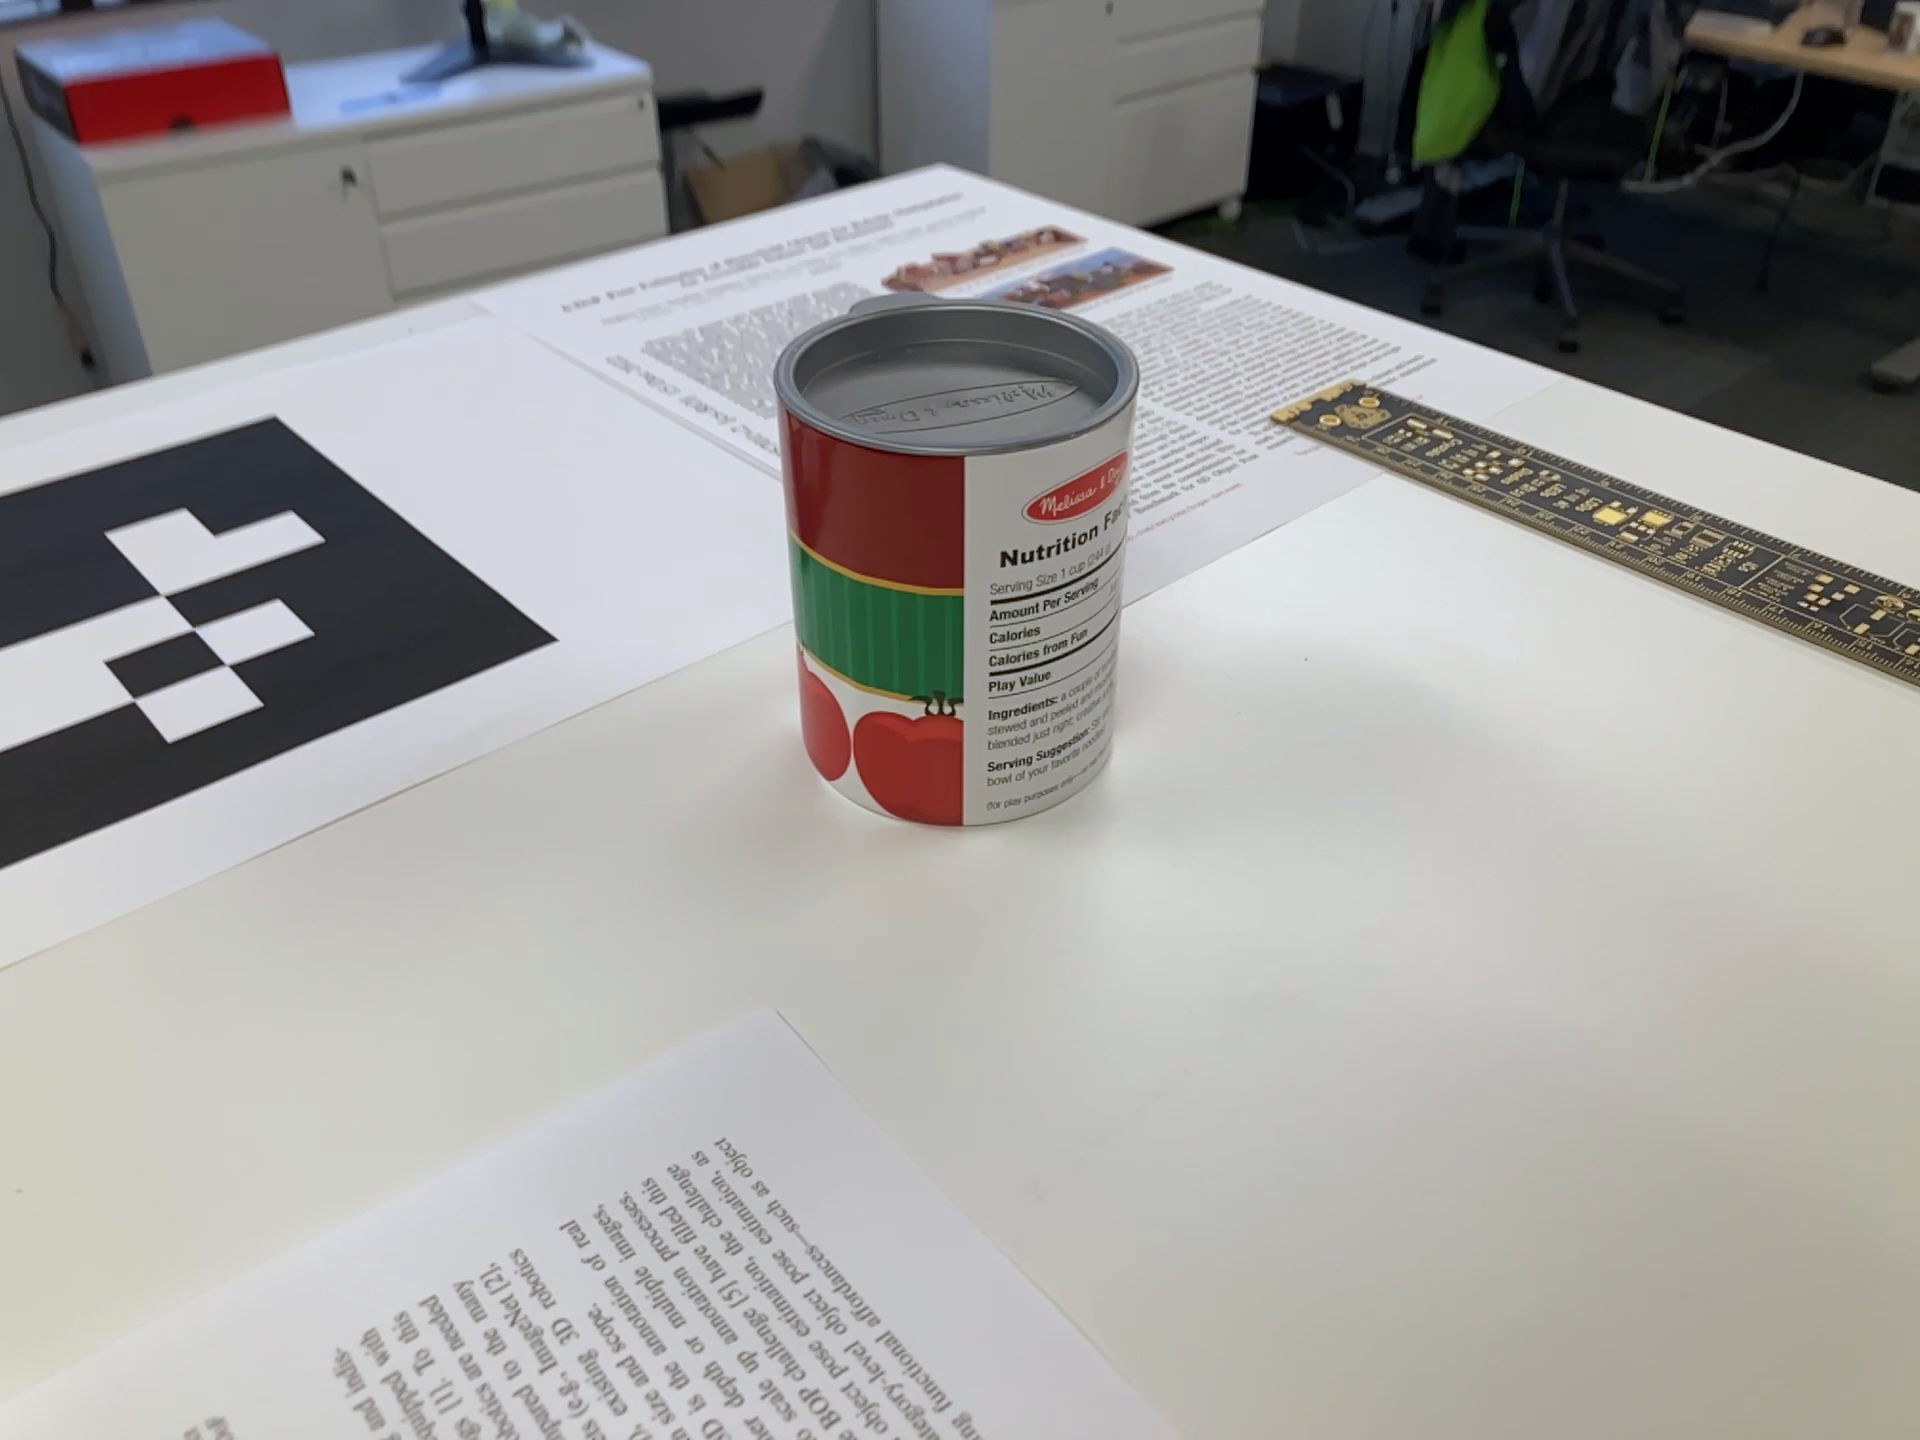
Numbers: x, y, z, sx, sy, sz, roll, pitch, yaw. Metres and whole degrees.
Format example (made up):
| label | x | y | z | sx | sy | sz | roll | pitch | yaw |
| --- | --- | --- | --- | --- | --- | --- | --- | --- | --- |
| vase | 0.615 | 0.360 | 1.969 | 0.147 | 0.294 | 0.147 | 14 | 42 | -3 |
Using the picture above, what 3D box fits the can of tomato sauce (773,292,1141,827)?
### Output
| label | x | y | z | sx | sy | sz | roll | pitch | yaw |
| --- | --- | --- | --- | --- | --- | --- | --- | --- | --- |
| can of tomato sauce | -0.002 | -0.032 | 0.311 | 0.071 | 0.083 | 0.071 | 0 | 35 | 0 |
